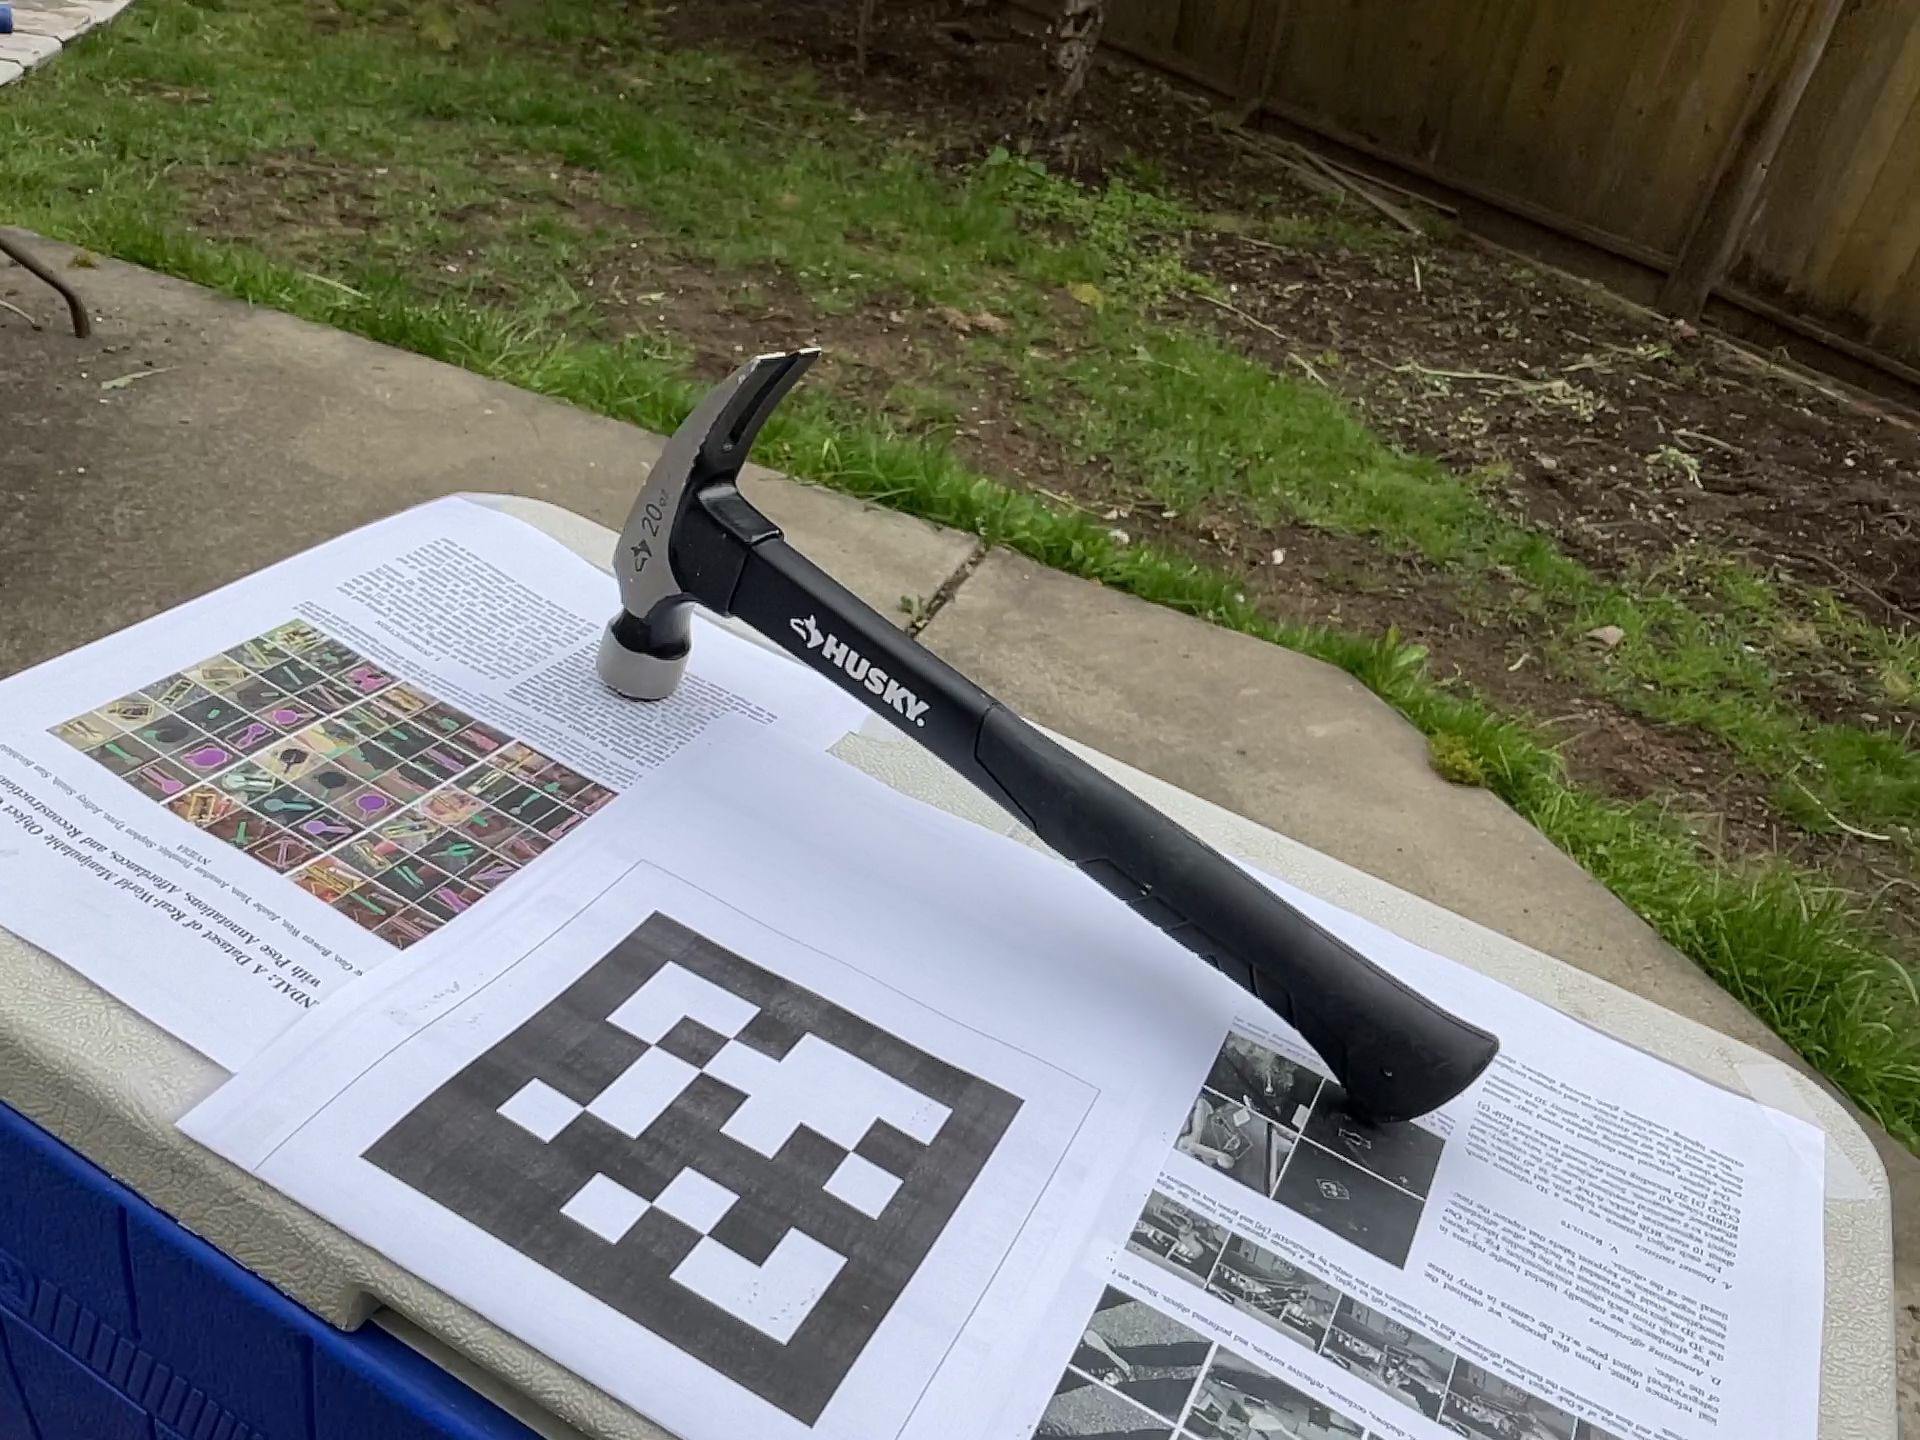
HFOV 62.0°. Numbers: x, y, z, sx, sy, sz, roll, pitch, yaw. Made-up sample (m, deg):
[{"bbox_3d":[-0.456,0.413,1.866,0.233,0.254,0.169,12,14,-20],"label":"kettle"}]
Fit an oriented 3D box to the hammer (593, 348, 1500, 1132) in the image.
[{"bbox_3d":[0.021,0.013,0.515,0.335,0.146,0.035,36,32,17],"label":"hammer"}]
